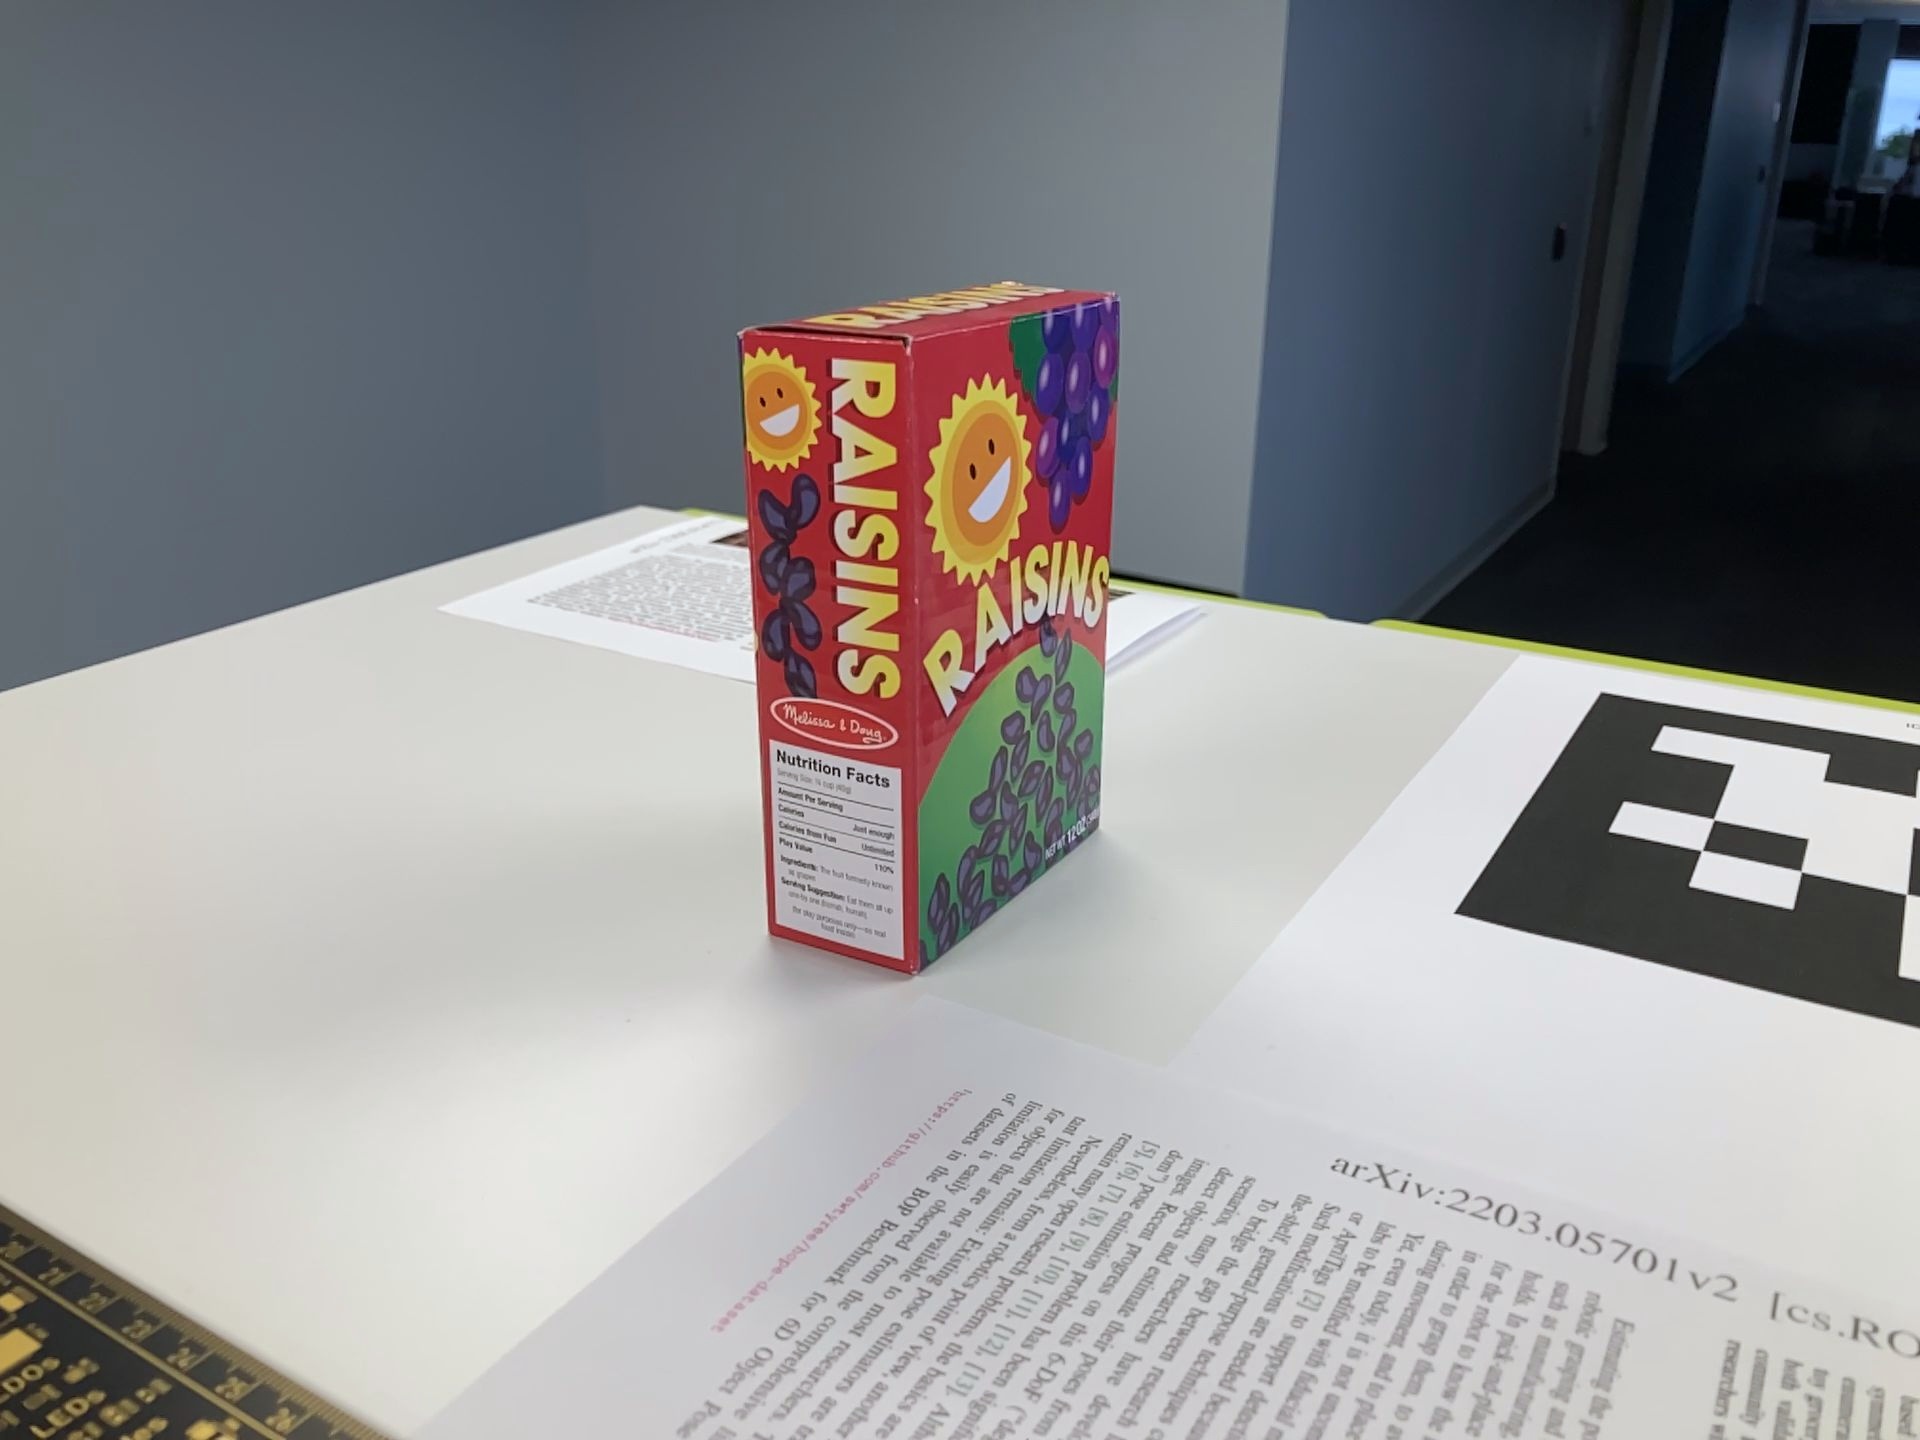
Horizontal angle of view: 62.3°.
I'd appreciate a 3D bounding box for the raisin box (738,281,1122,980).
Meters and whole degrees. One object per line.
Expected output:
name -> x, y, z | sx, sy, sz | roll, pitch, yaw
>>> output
raisin box -> -0.003, -0.023, 0.325 | 0.040, 0.123, 0.086 | 12, 23, 29
